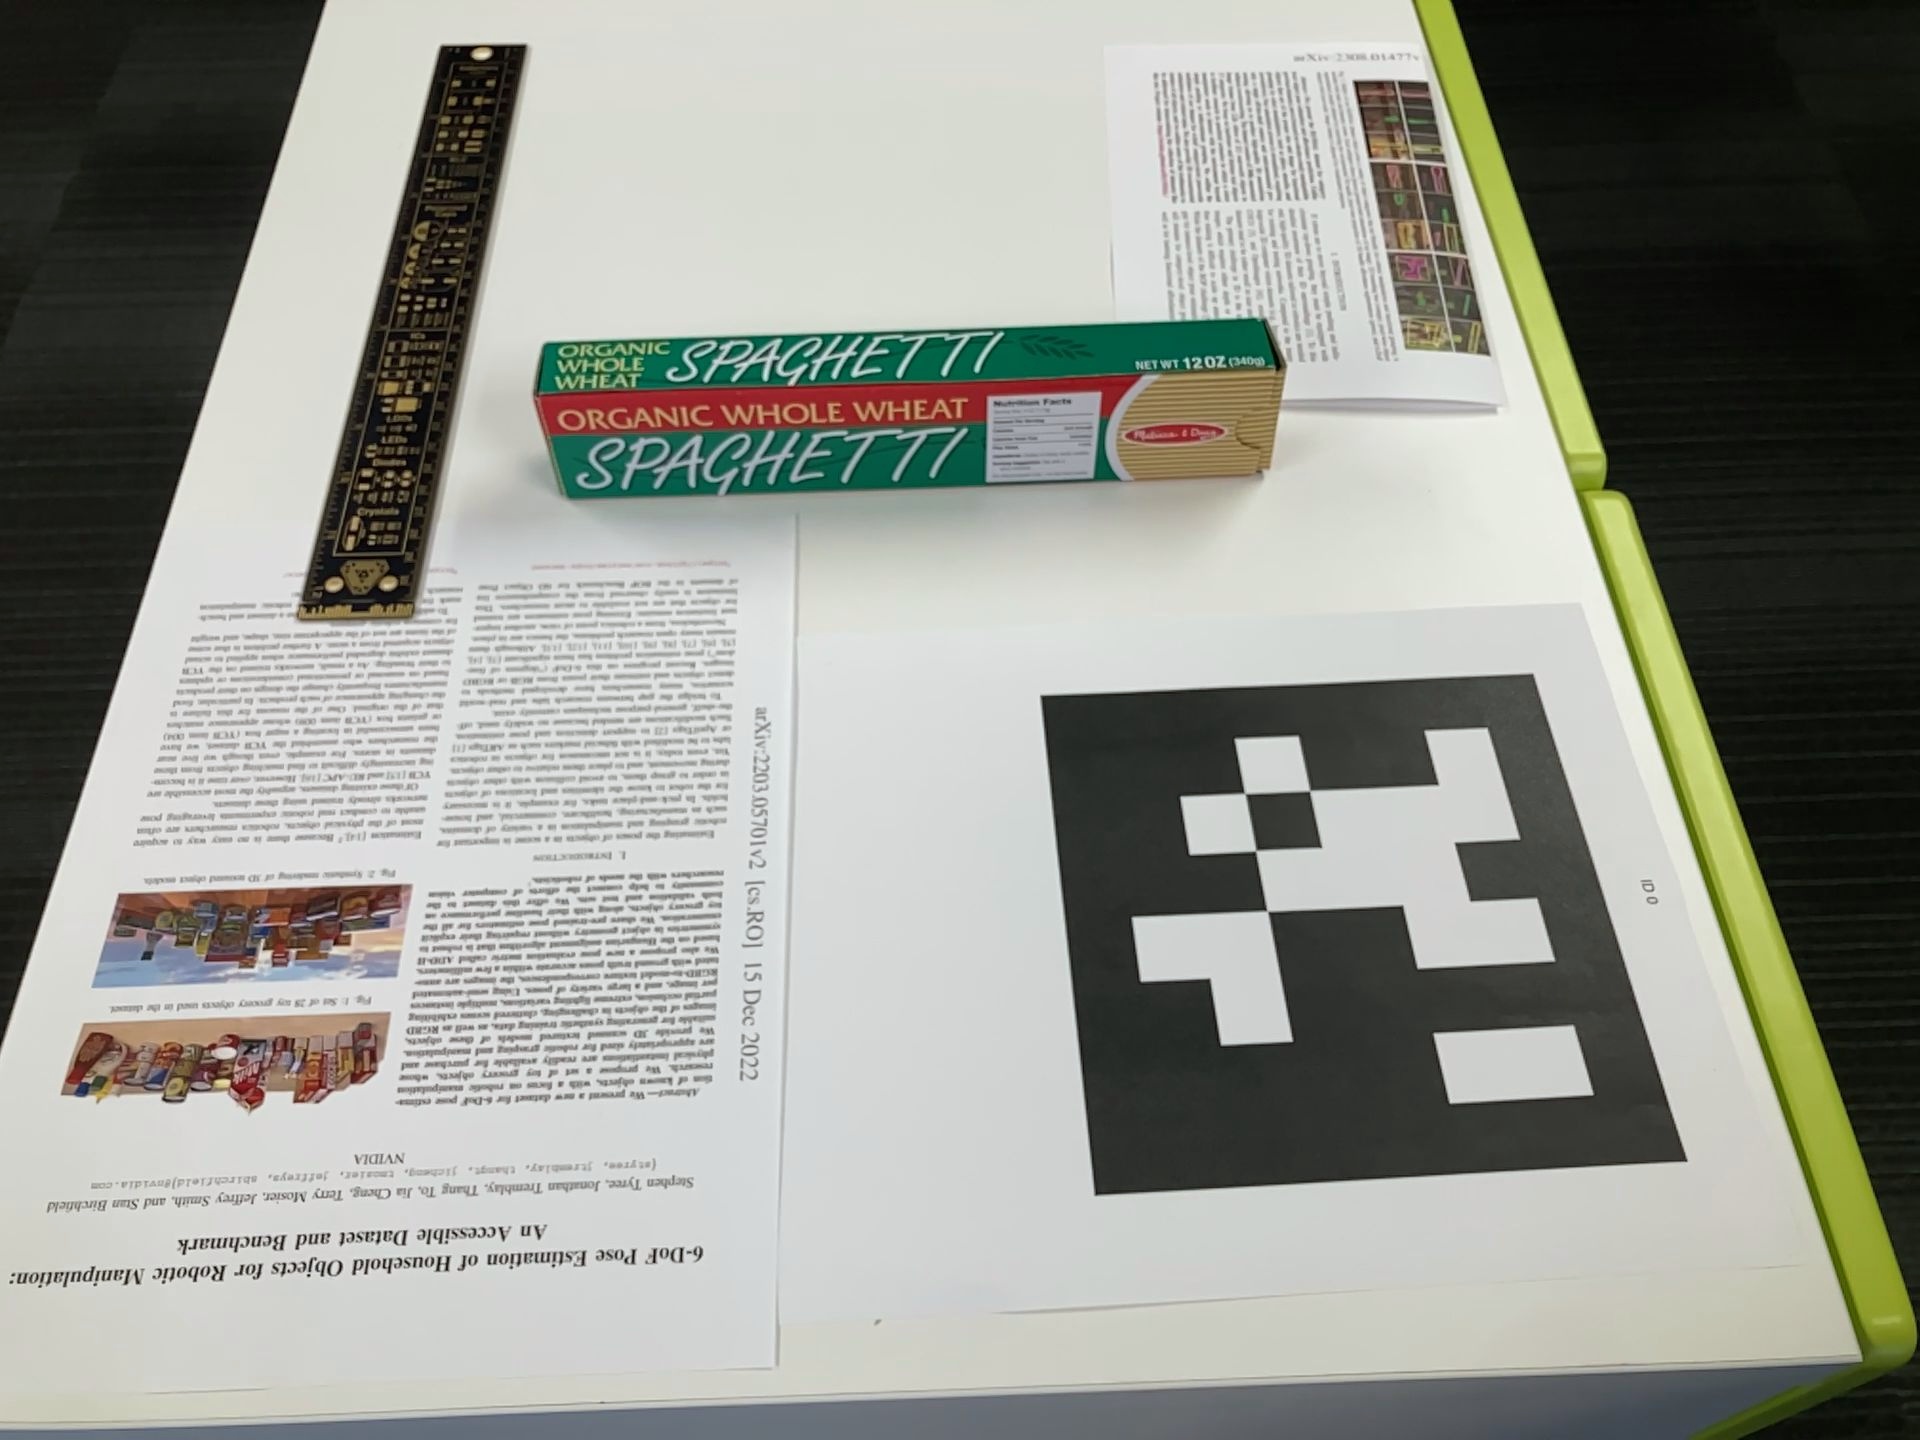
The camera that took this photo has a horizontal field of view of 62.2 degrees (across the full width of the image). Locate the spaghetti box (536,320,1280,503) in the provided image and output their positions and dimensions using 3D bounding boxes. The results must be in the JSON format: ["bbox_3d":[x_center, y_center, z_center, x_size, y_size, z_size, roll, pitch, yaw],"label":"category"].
[{"bbox_3d":[-0.018,-0.107,0.553,0.250,0.050,0.028,-2,52,-2],"label":"spaghetti box"}]
